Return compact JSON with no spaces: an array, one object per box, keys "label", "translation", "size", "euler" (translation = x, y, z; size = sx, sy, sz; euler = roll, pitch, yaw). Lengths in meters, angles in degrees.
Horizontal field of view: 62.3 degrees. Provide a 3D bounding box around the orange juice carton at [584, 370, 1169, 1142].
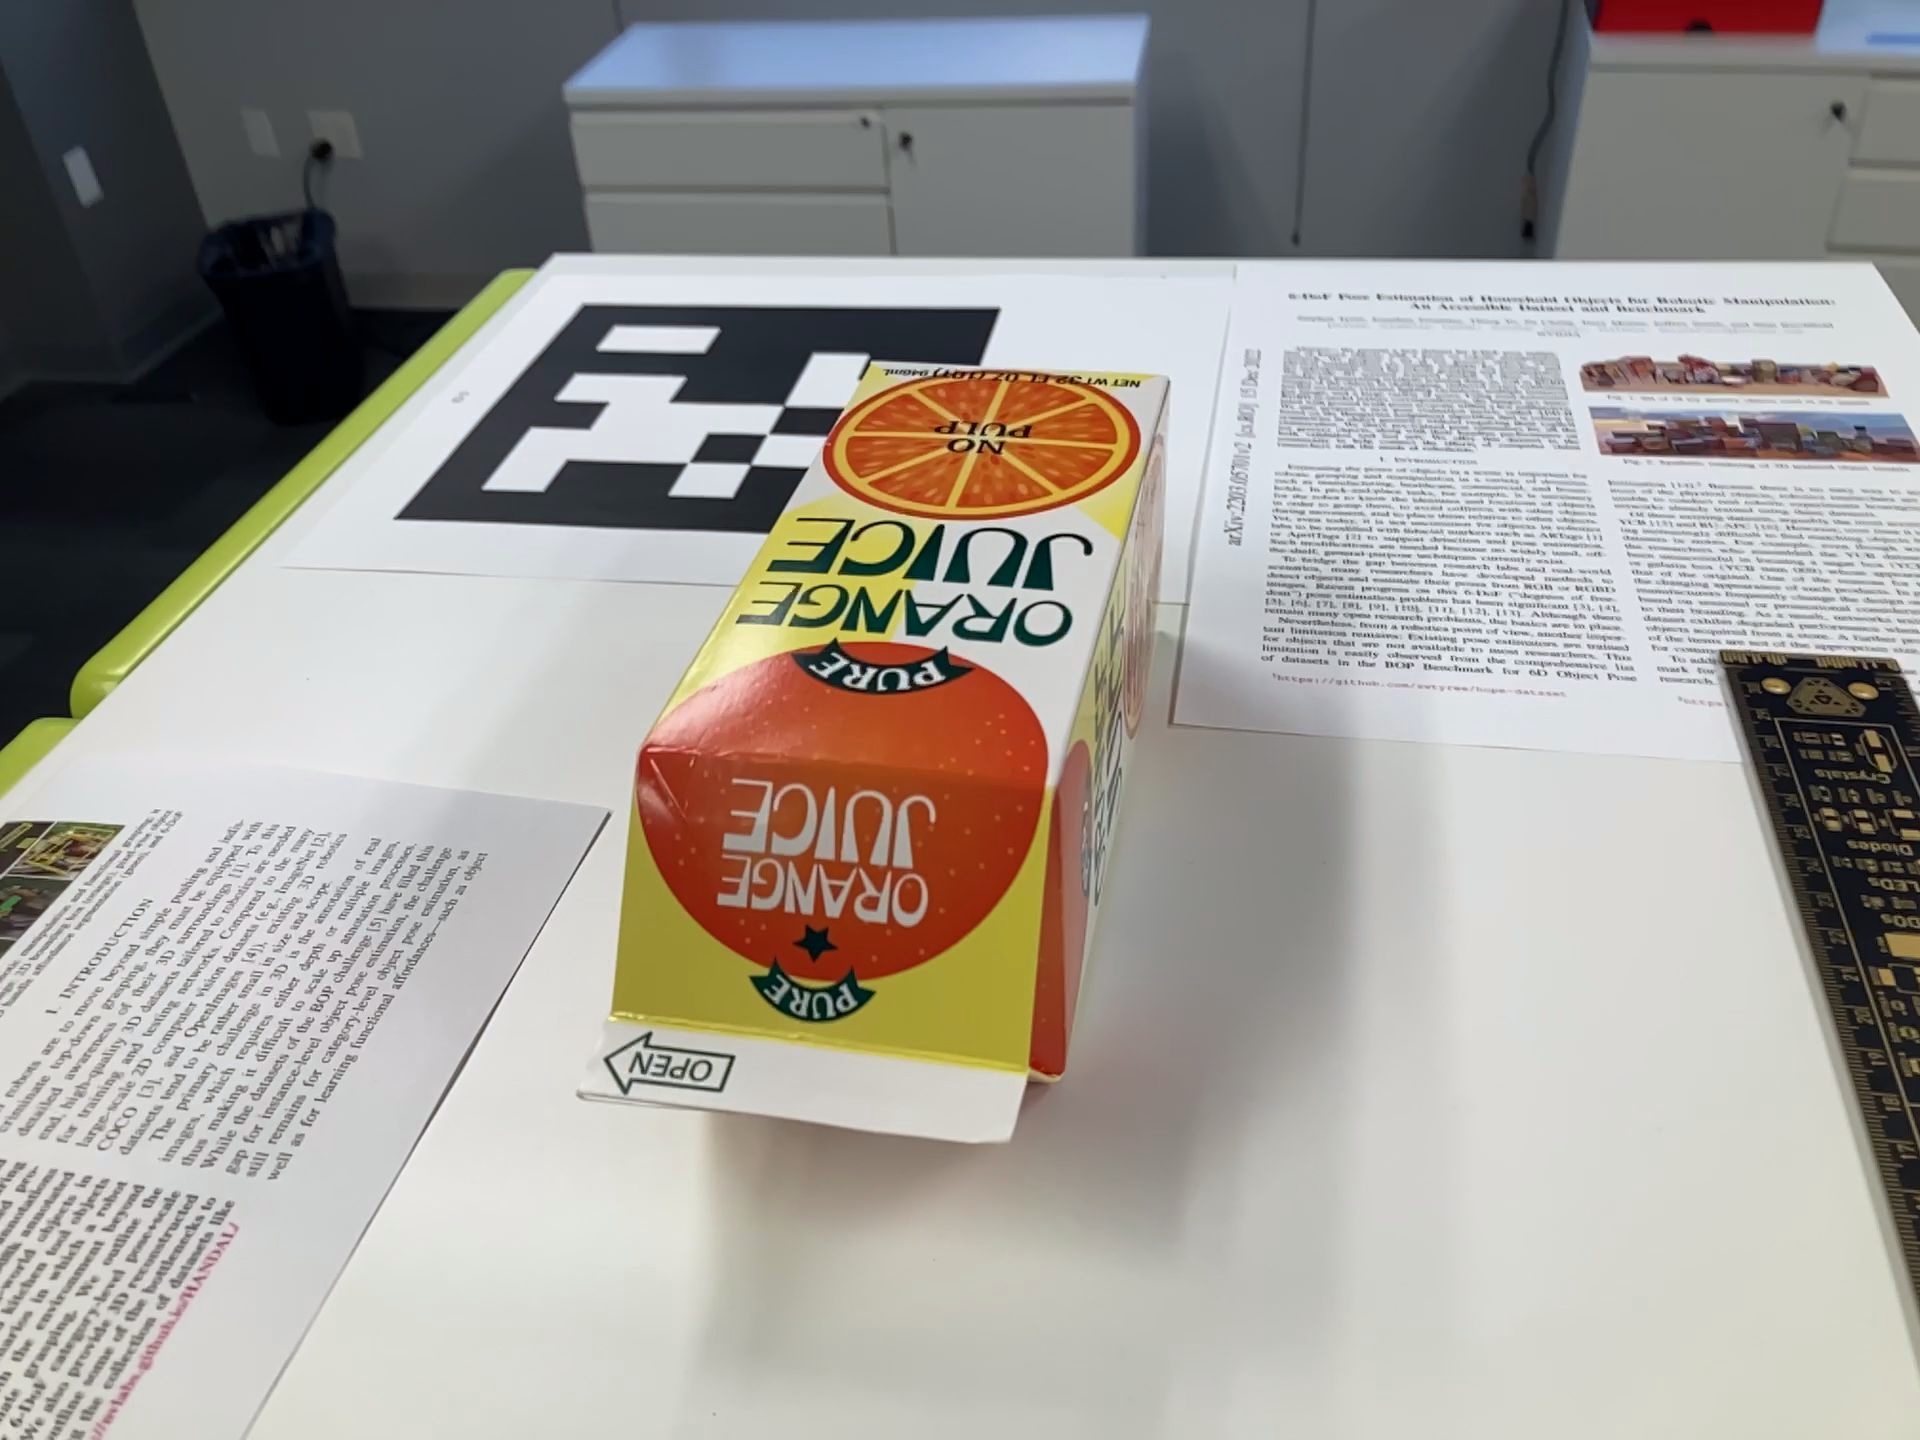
[{"label":"orange juice carton","translation":[-0.005,0.004,0.319],"size":[0.072,0.073,0.192],"euler":[5,38,12]}]
